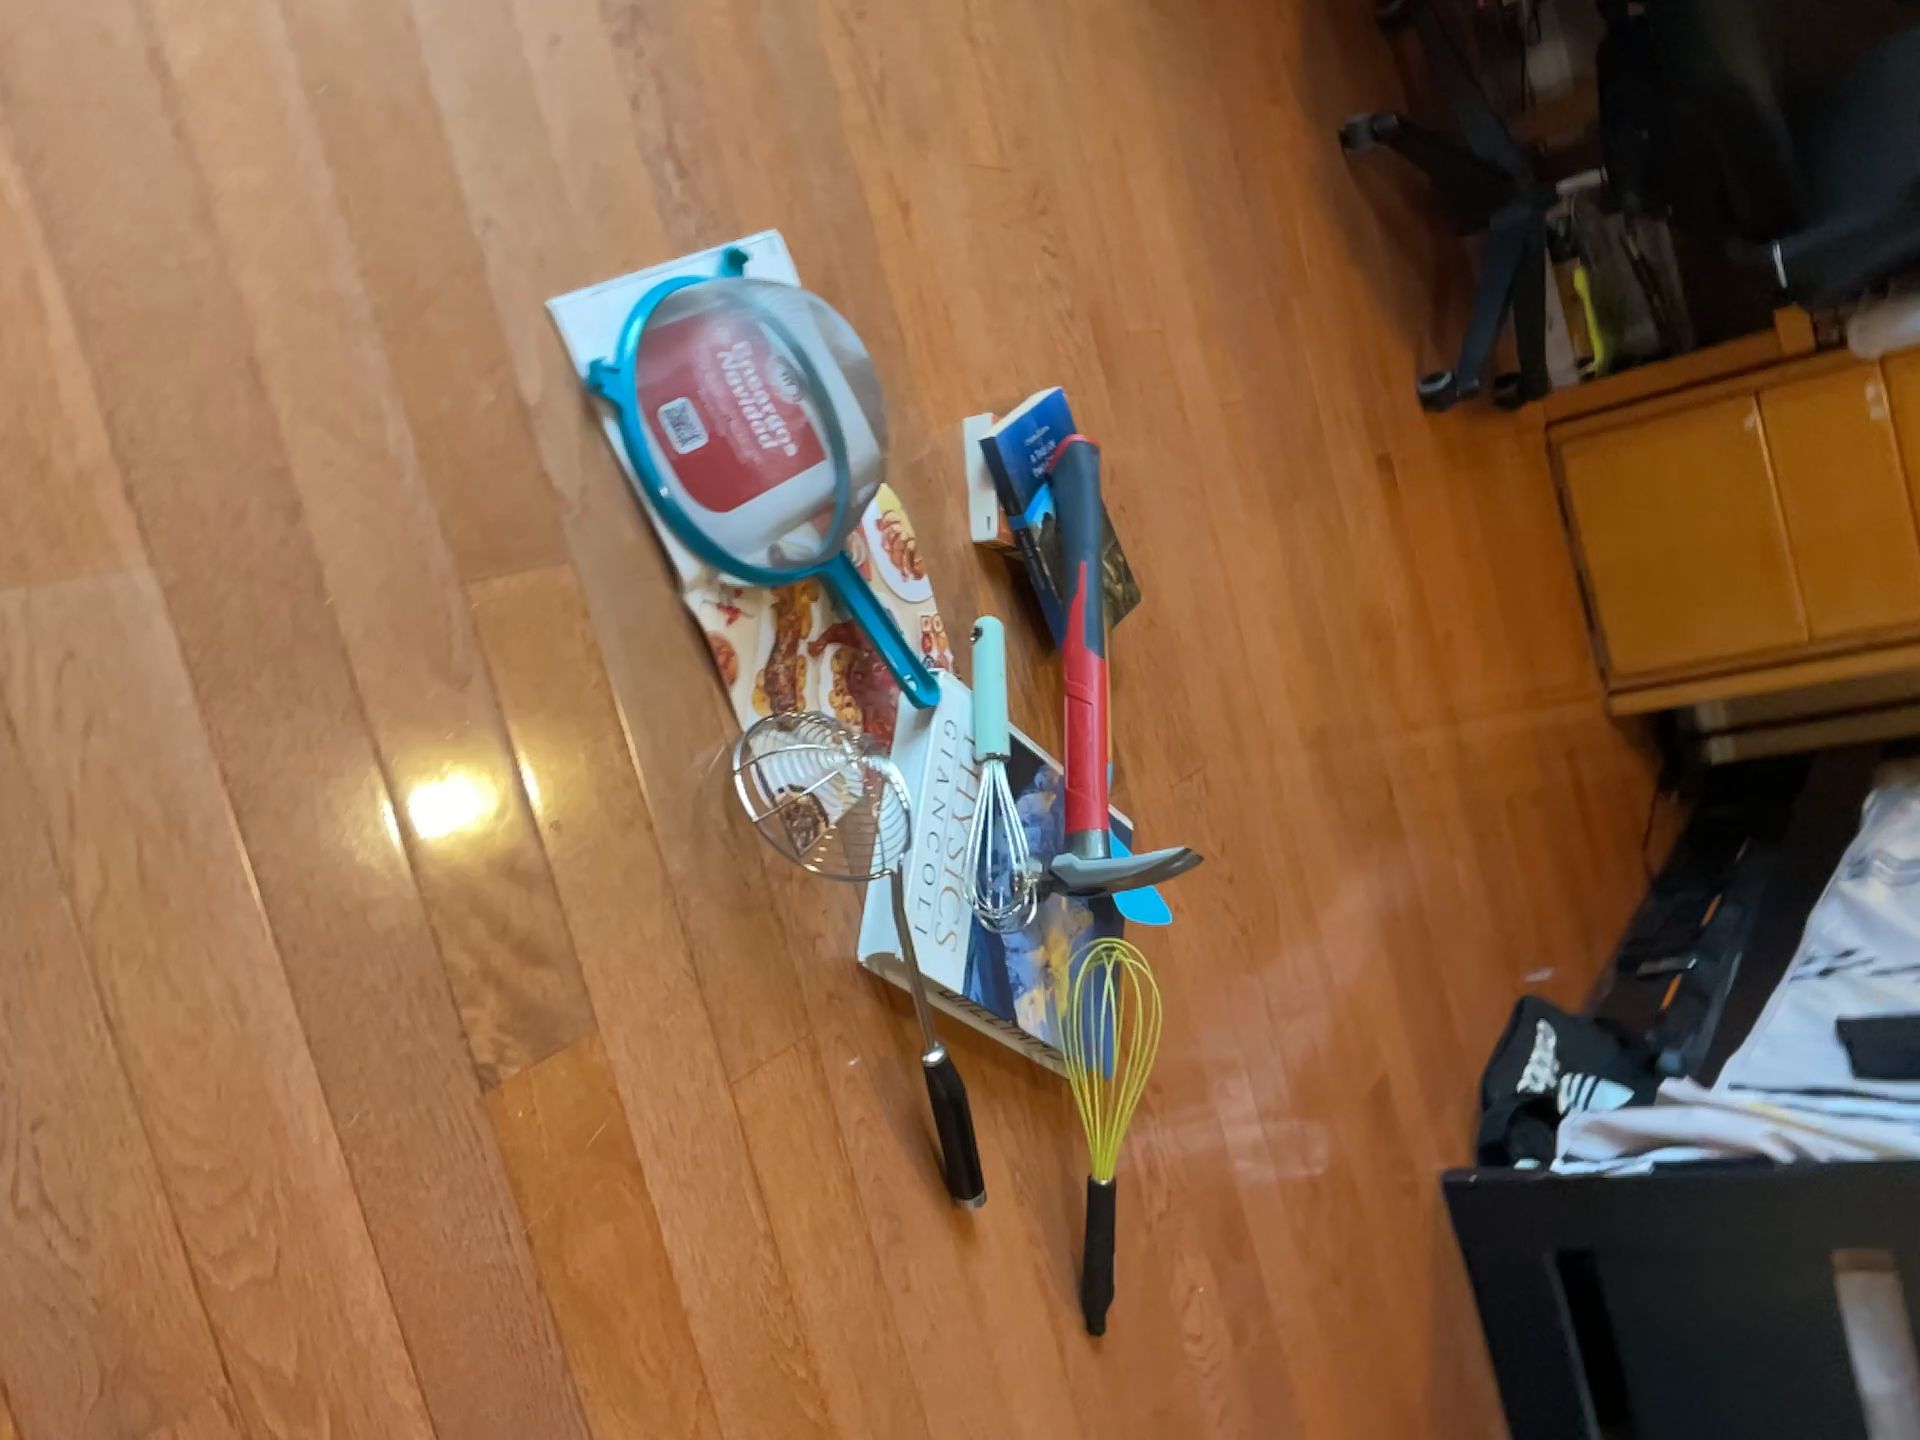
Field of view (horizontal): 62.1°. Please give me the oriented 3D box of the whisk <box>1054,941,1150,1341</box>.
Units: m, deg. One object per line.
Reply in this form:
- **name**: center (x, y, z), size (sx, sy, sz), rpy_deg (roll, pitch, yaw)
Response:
- **whisk**: center (0.106, 0.317, 1.190), size (0.080, 0.067, 0.311), rpy_deg (-24, 115, -71)

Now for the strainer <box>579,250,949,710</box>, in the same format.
- **strainer**: center (-0.081, -0.150, 1.045), size (0.340, 0.095, 0.211), rpy_deg (54, 39, -20)

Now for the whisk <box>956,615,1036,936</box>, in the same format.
- **whisk**: center (0.023, 0.036, 1.140), size (0.059, 0.057, 0.247), rpy_deg (9, 64, -22)

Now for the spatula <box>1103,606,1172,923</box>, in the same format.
- **spatula**: center (0.124, 0.007, 1.289), size (0.082, 0.044, 0.318), rpy_deg (16, 67, -51)

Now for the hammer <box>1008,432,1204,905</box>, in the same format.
- **hammer**: center (0.107, -0.055, 1.215), size (0.038, 0.143, 0.387), rpy_deg (34, 50, -50)

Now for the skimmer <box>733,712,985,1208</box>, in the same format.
- **skimmer**: center (-0.056, 0.167, 1.056), size (0.127, 0.090, 0.363), rpy_deg (-44, 127, -54)
